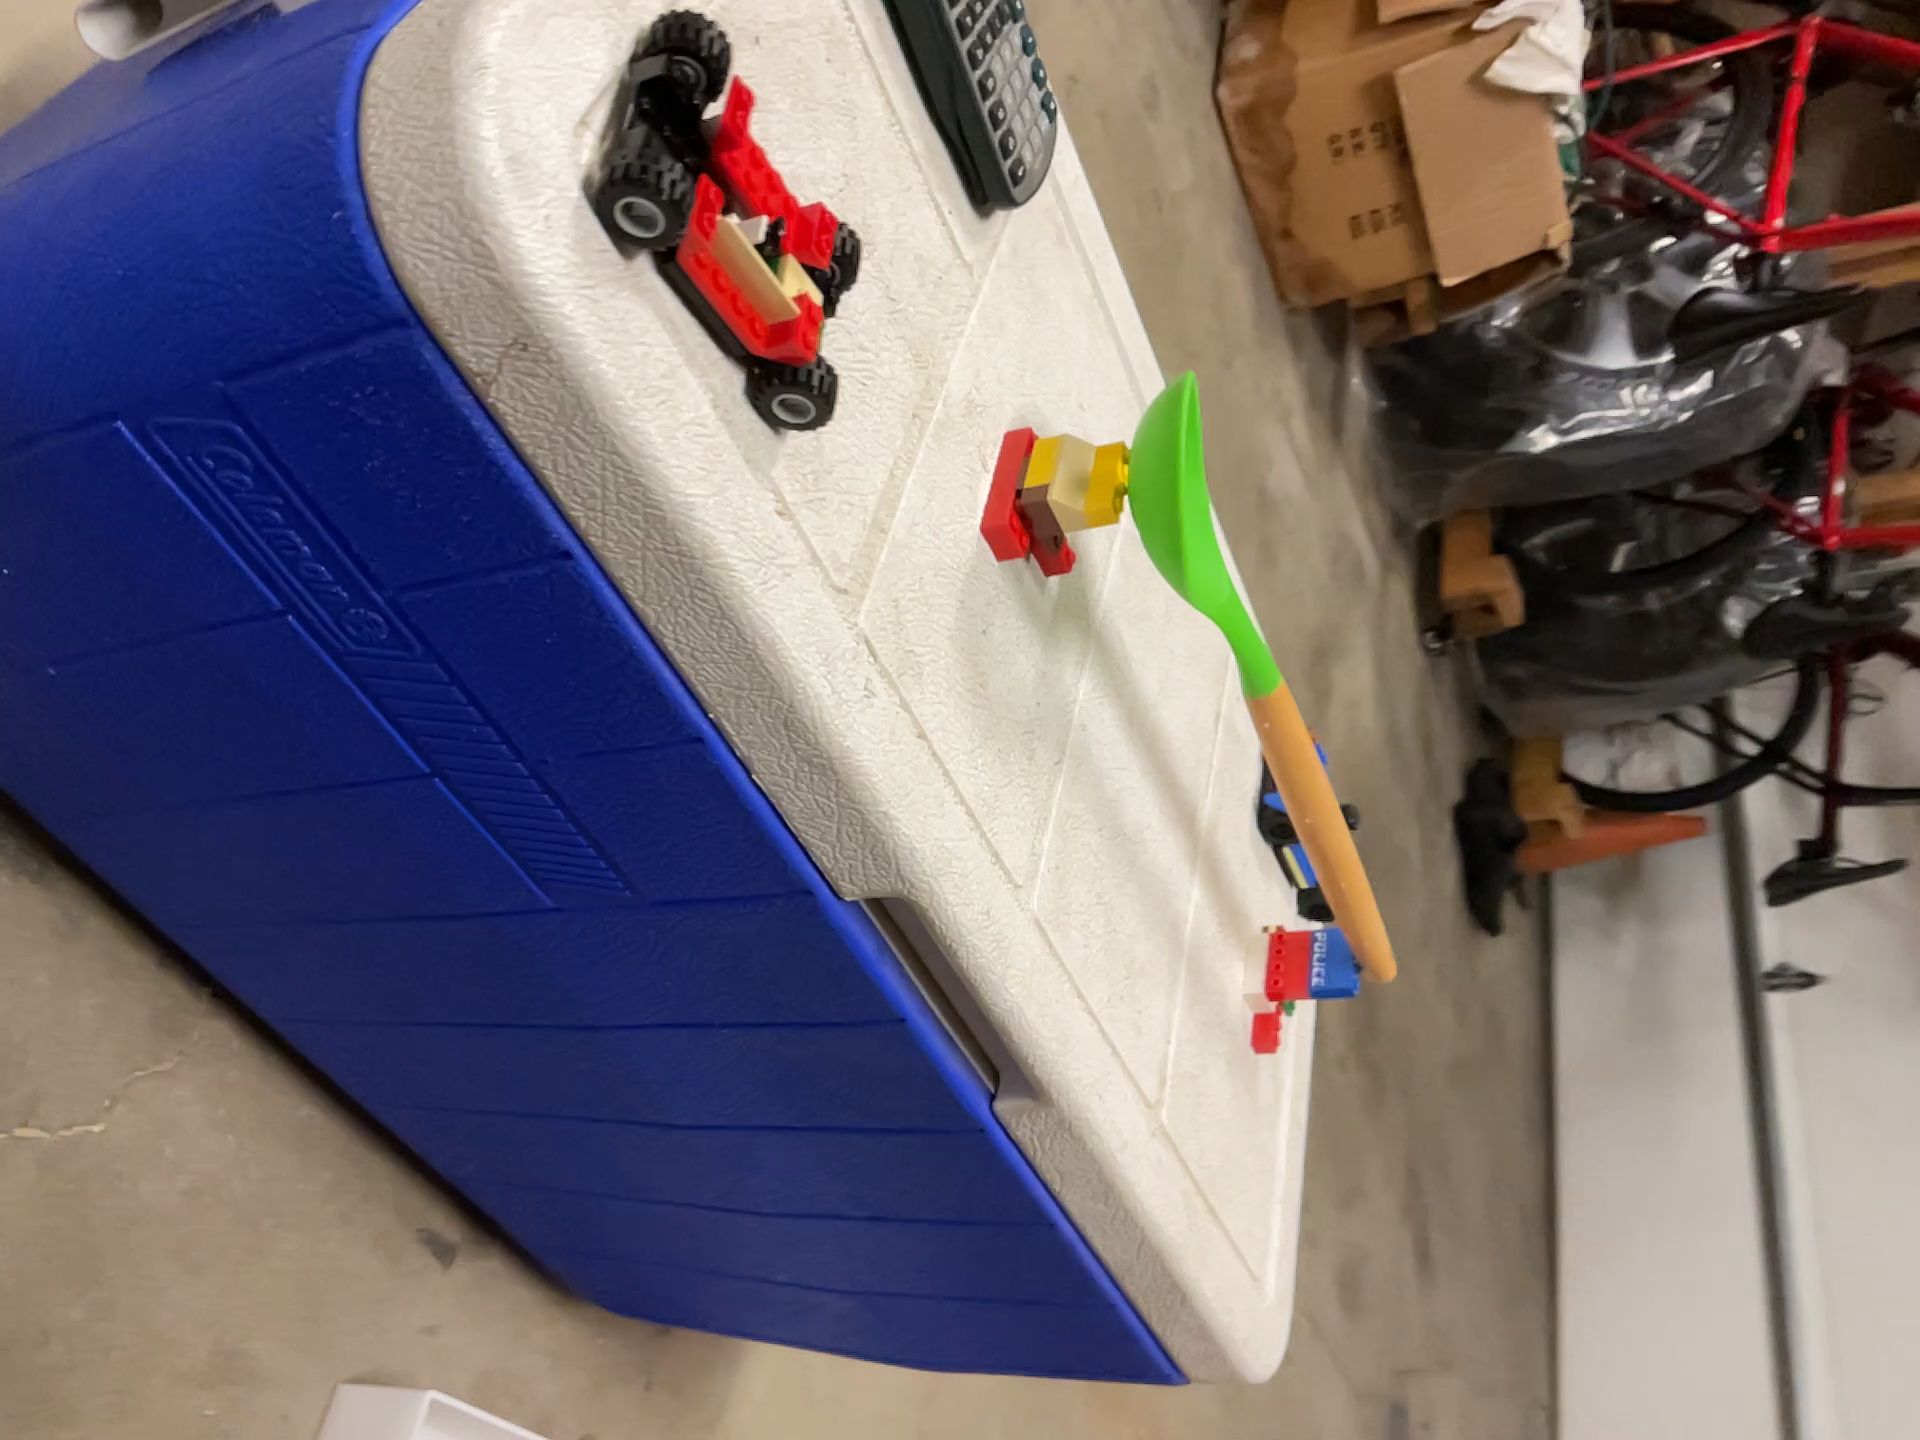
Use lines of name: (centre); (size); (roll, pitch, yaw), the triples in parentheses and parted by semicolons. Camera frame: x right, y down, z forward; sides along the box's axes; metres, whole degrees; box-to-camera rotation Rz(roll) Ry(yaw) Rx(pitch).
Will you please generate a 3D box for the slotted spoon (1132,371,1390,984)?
slotted spoon: (0.119, 0.006, 0.593); (0.070, 0.031, 0.313); (-77, 148, -42)
